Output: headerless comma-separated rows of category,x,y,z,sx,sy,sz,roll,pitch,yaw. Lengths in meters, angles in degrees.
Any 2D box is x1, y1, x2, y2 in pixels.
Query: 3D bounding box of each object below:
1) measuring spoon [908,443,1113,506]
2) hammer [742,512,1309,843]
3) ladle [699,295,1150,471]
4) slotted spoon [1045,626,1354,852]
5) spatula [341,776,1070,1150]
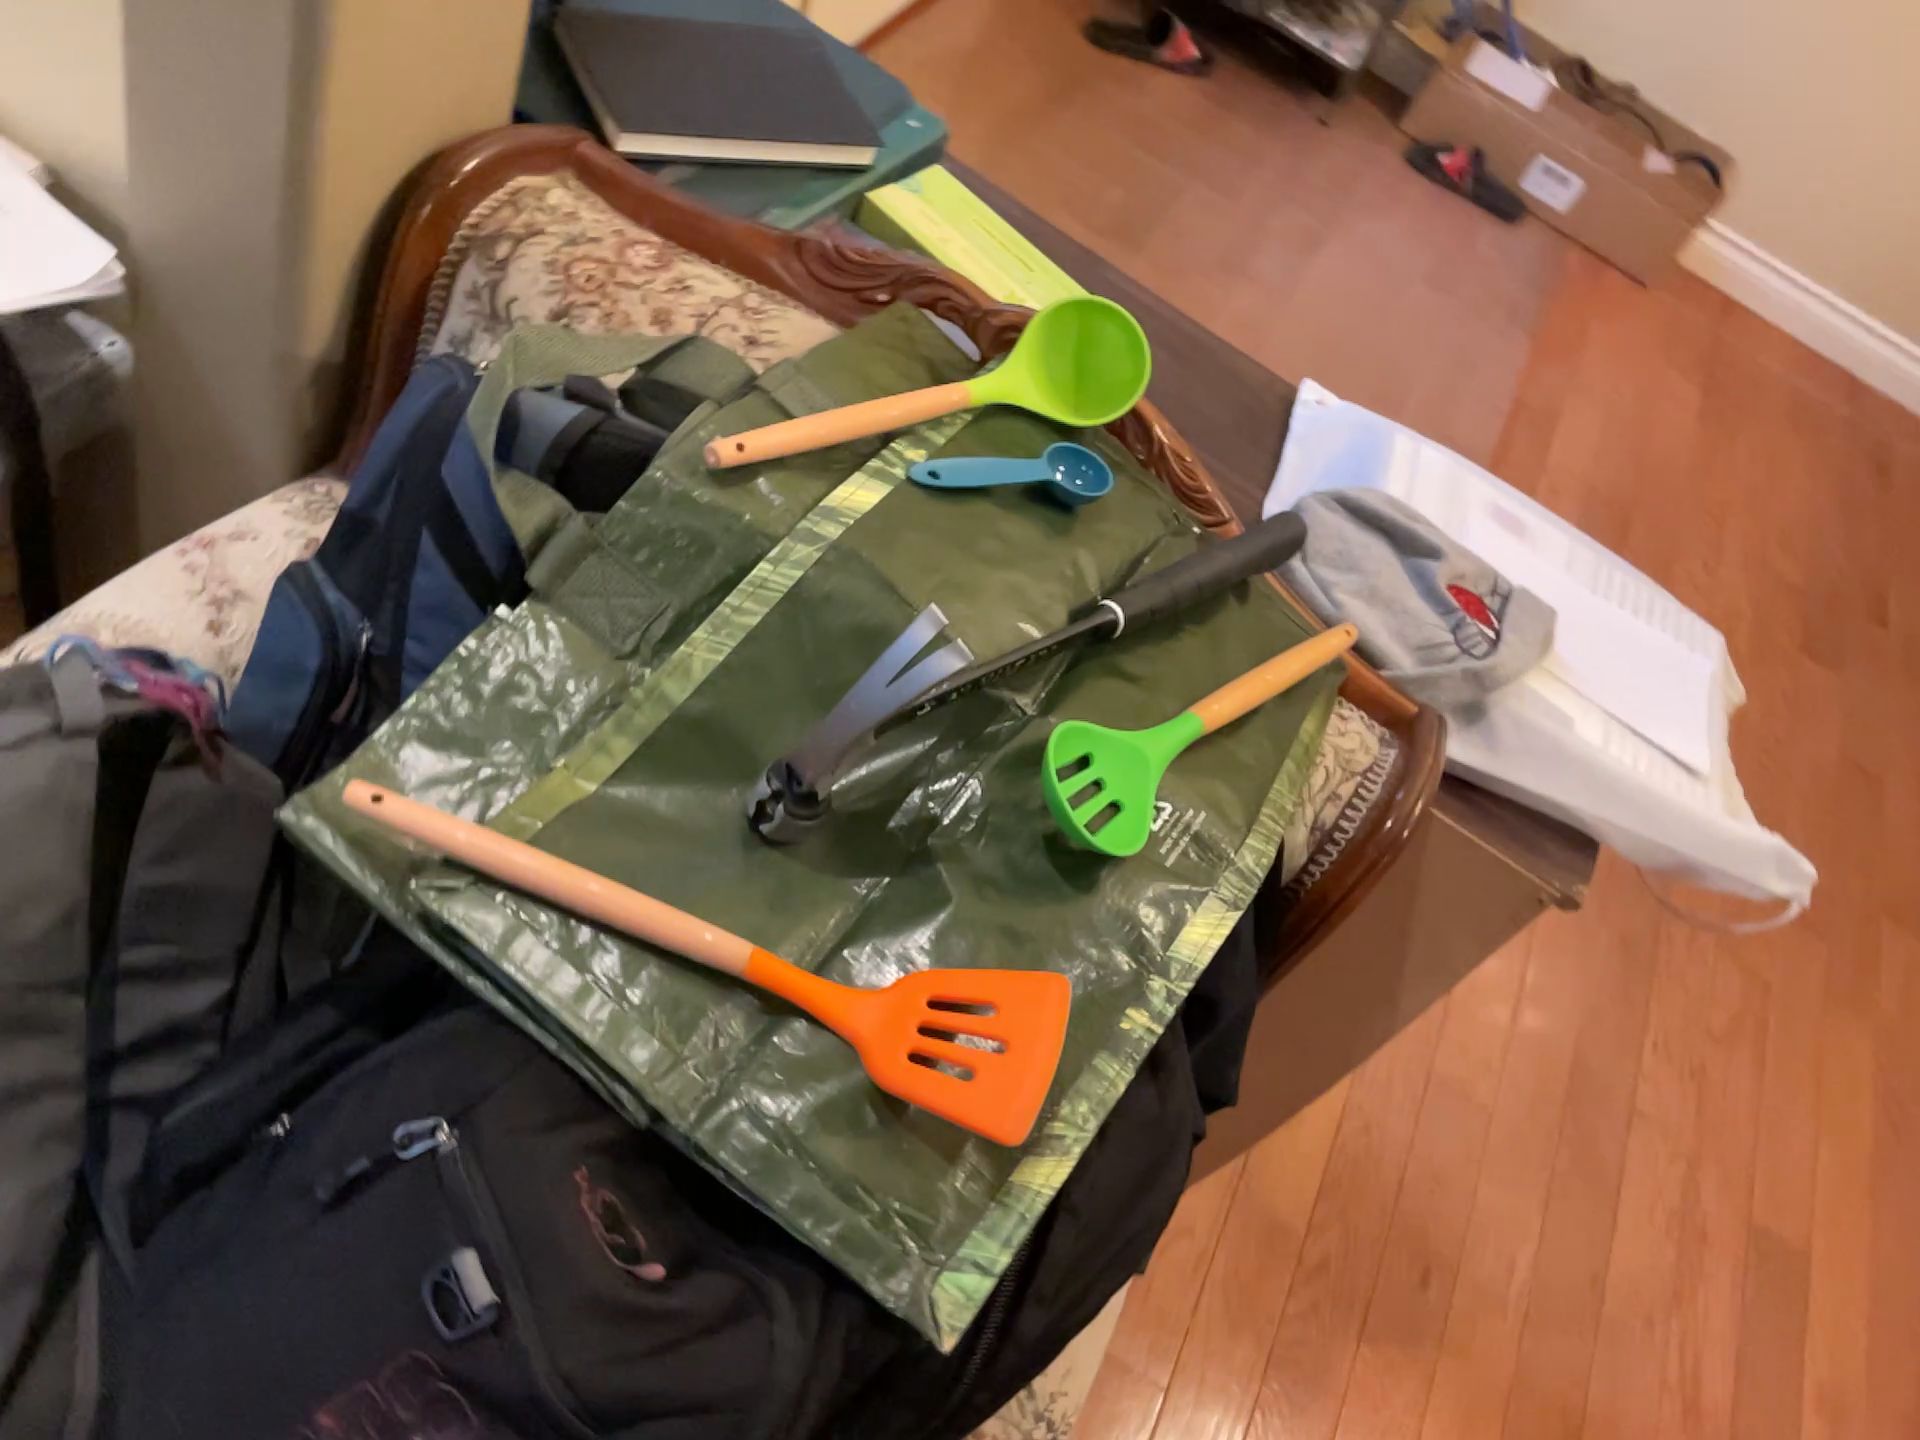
measuring spoon,0.026,-0.130,0.868,0.128,0.021,0.042,-6,55,-30
hammer,0.070,-0.051,0.826,0.408,0.149,0.036,-26,77,-44
ladle,-0.009,-0.176,0.861,0.320,0.062,0.078,-24,93,-44
slotted spoon,0.136,-0.003,0.837,0.313,0.031,0.070,-26,83,-47
spatula,-0.112,0.090,0.675,0.322,0.041,0.081,24,56,-2
